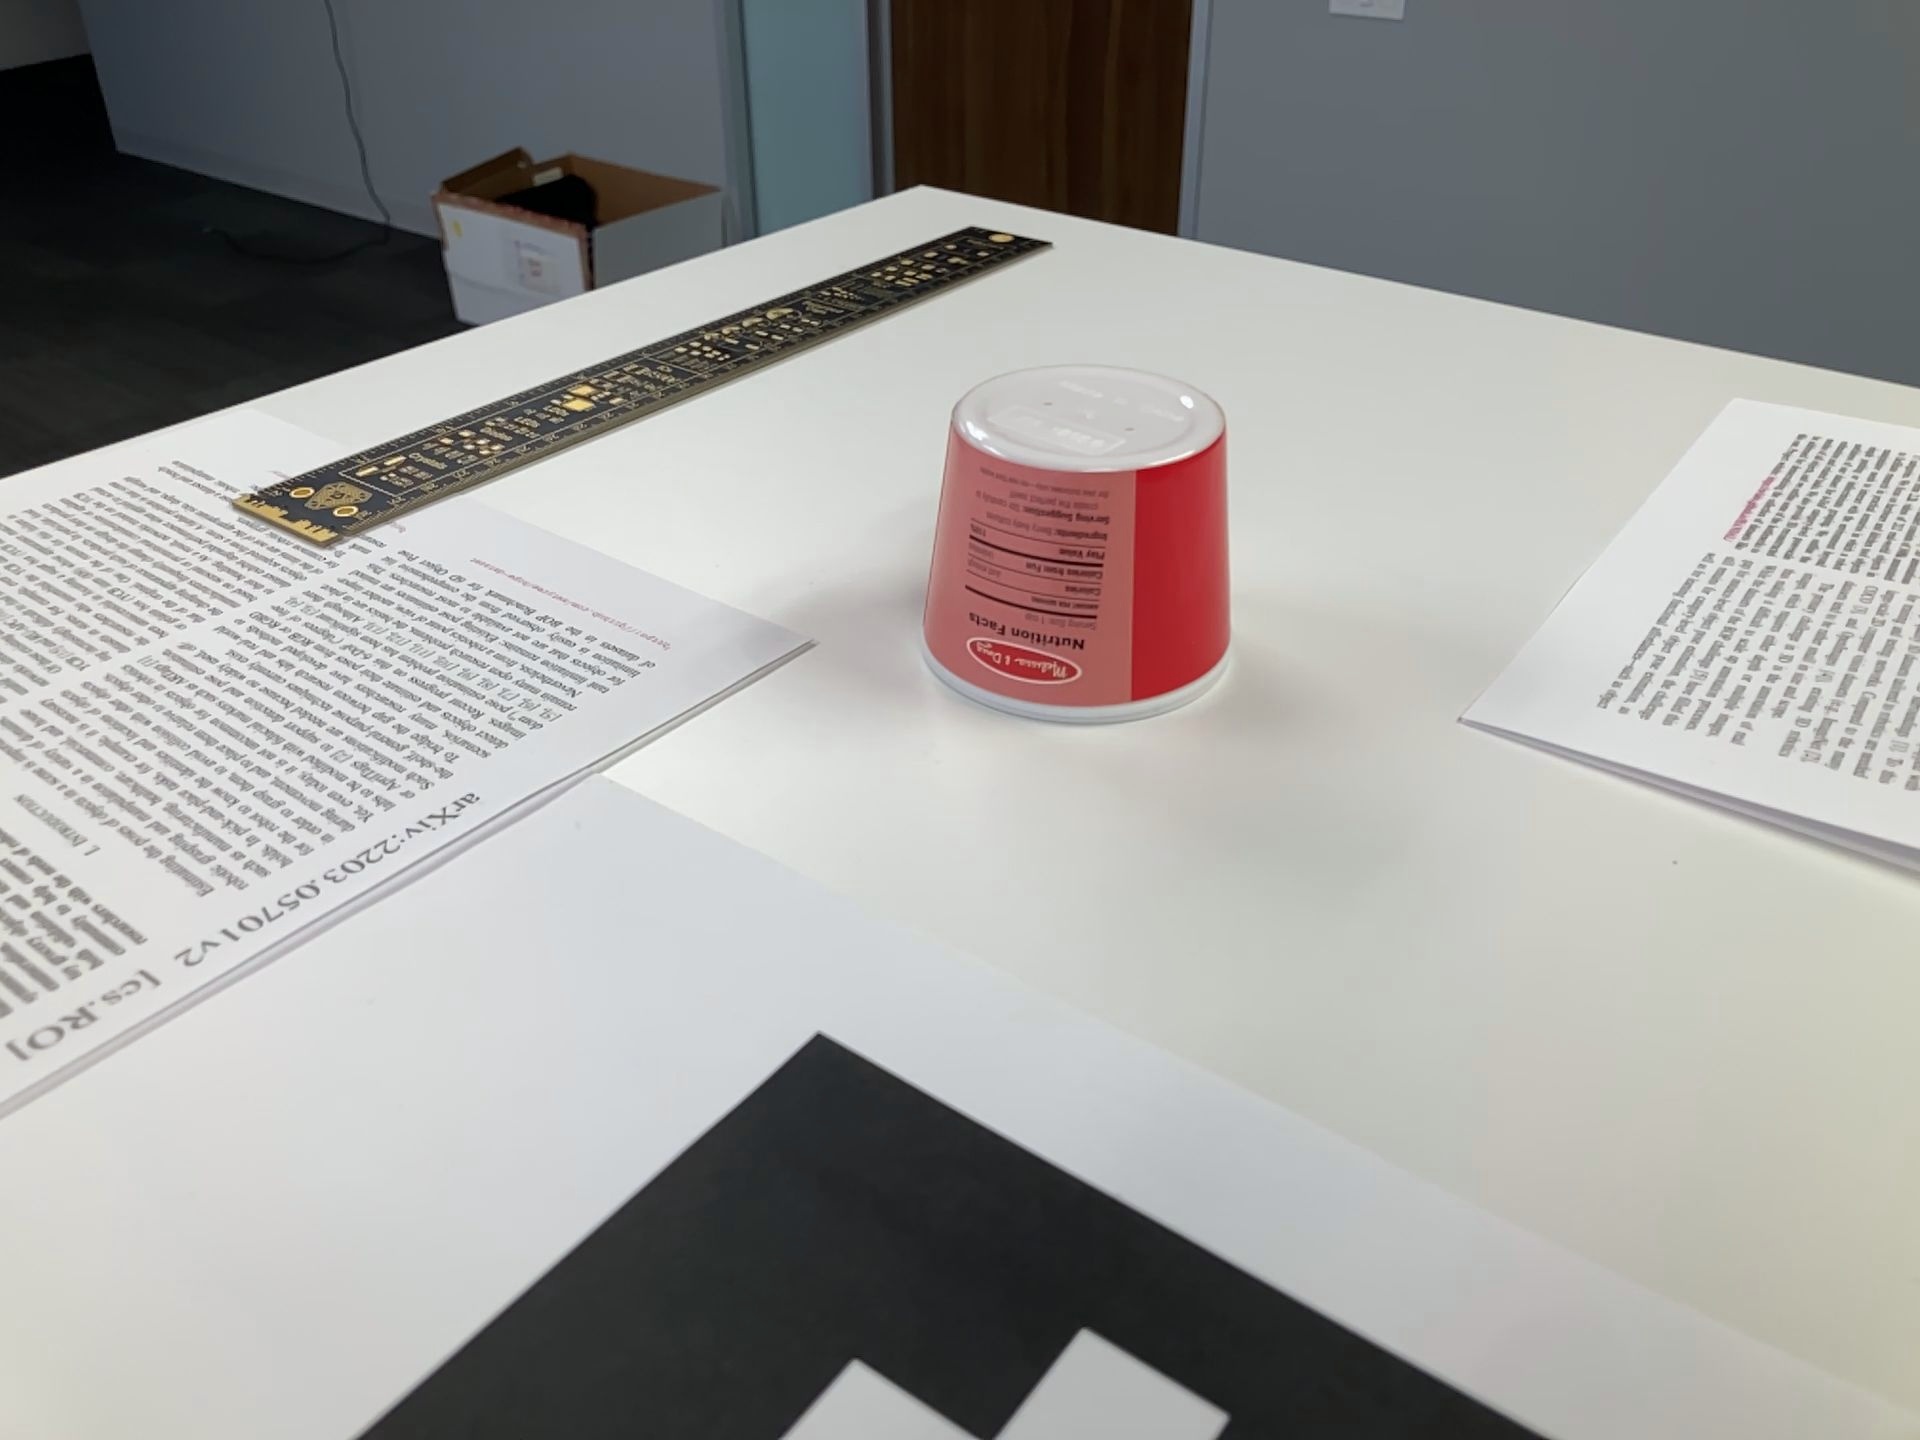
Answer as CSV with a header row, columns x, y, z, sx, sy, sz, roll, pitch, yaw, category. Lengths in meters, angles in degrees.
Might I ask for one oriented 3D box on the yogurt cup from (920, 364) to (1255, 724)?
x,y,z,sx,sy,sz,roll,pitch,yaw,category
0.026,-0.039,0.329,0.072,0.054,0.072,1,33,-1,yogurt cup
